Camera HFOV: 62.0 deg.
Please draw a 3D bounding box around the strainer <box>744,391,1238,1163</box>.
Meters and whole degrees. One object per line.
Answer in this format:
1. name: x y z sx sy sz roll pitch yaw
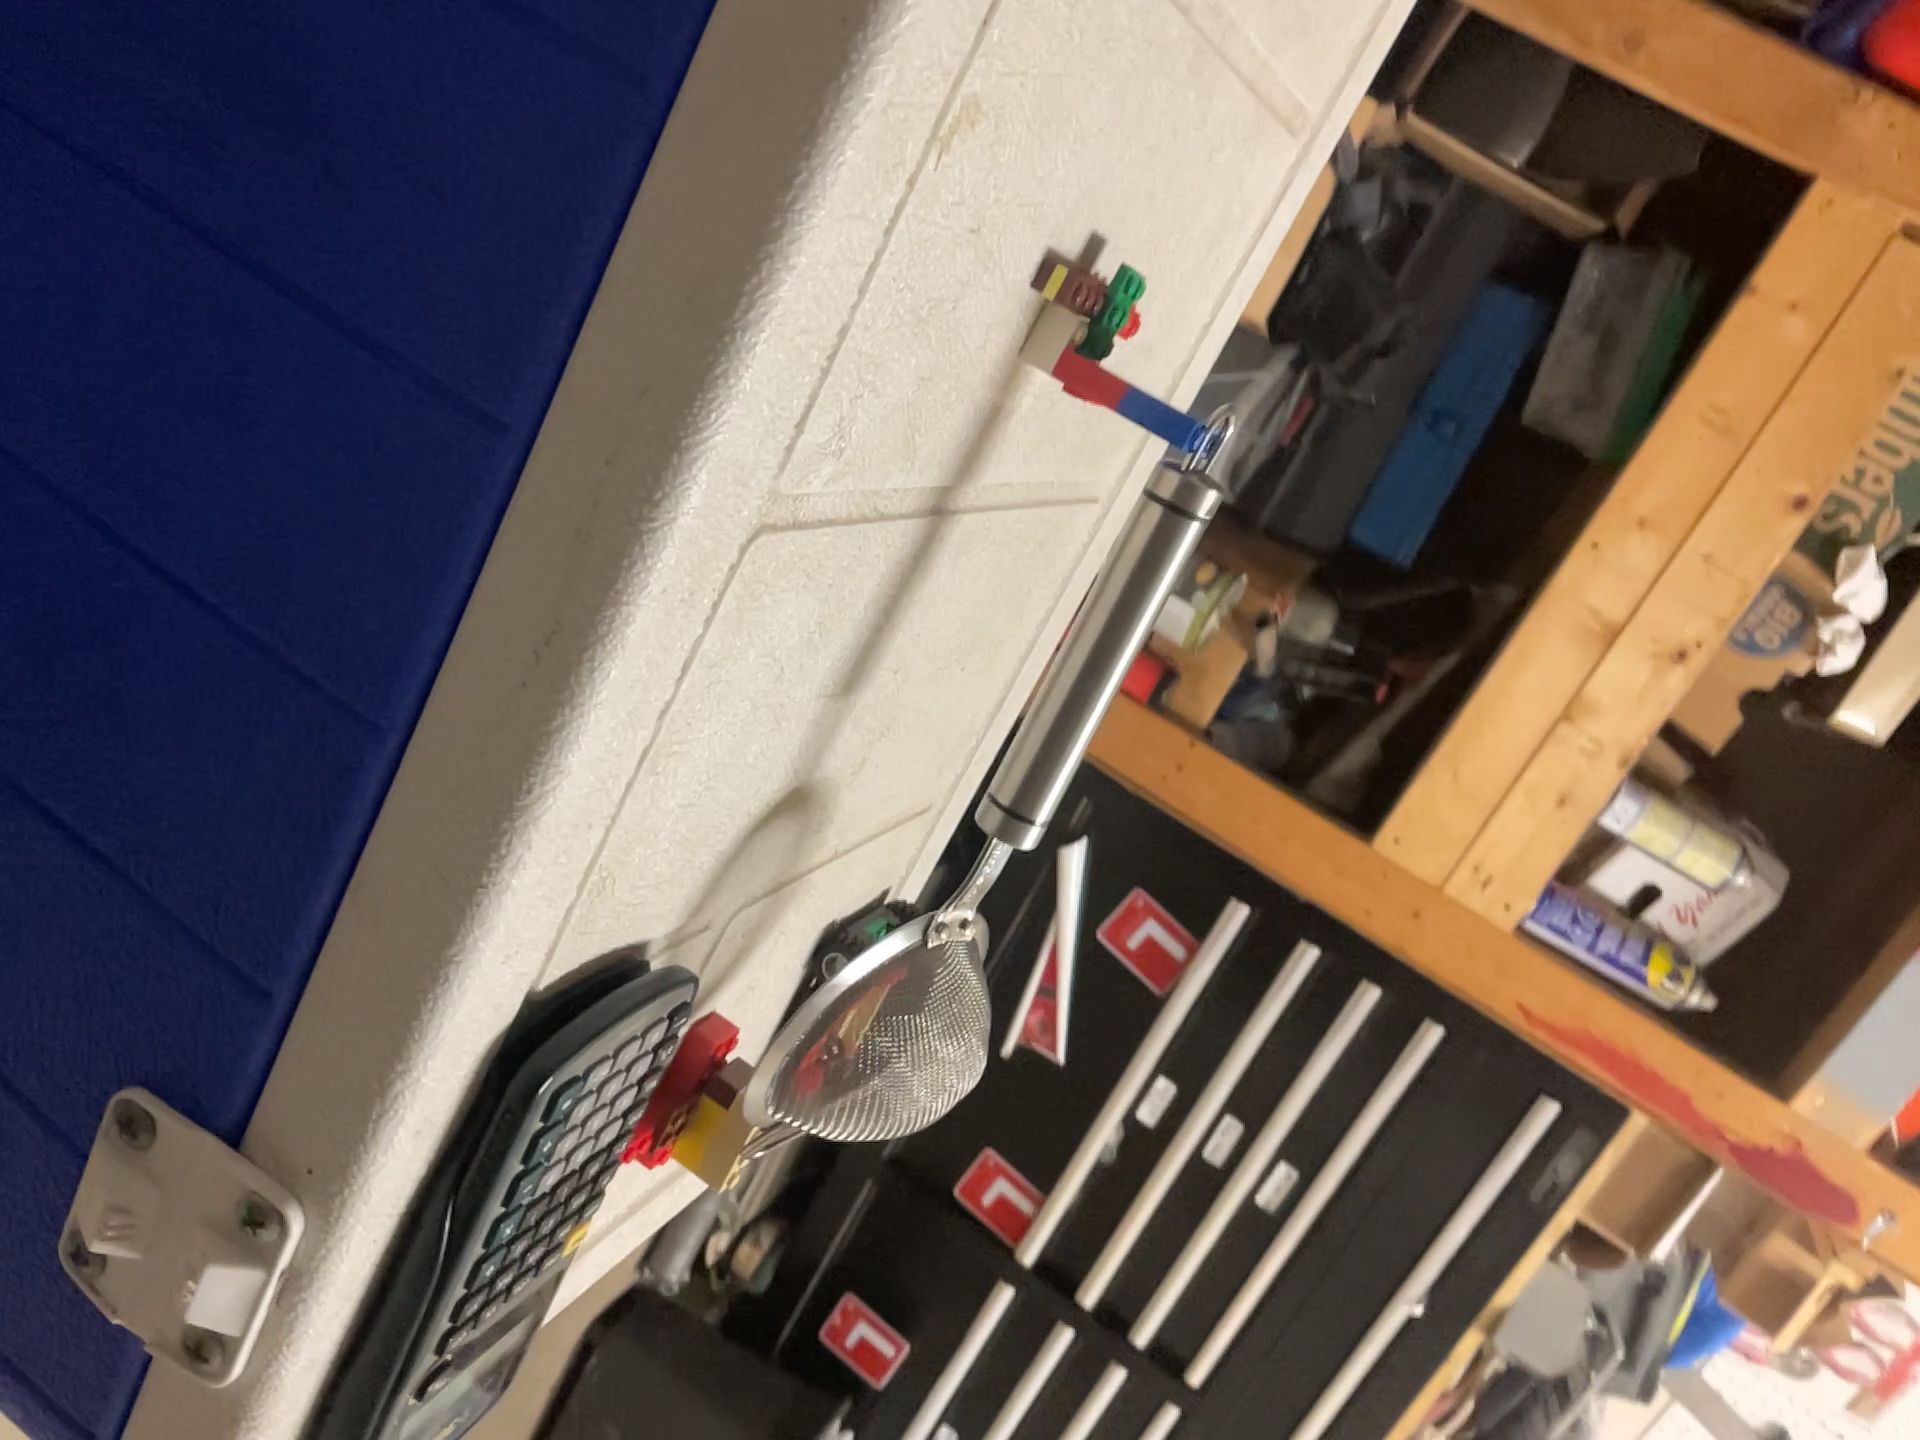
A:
1. strainer: 0.011 0.031 0.424 0.087 0.050 0.258 1 120 -56
